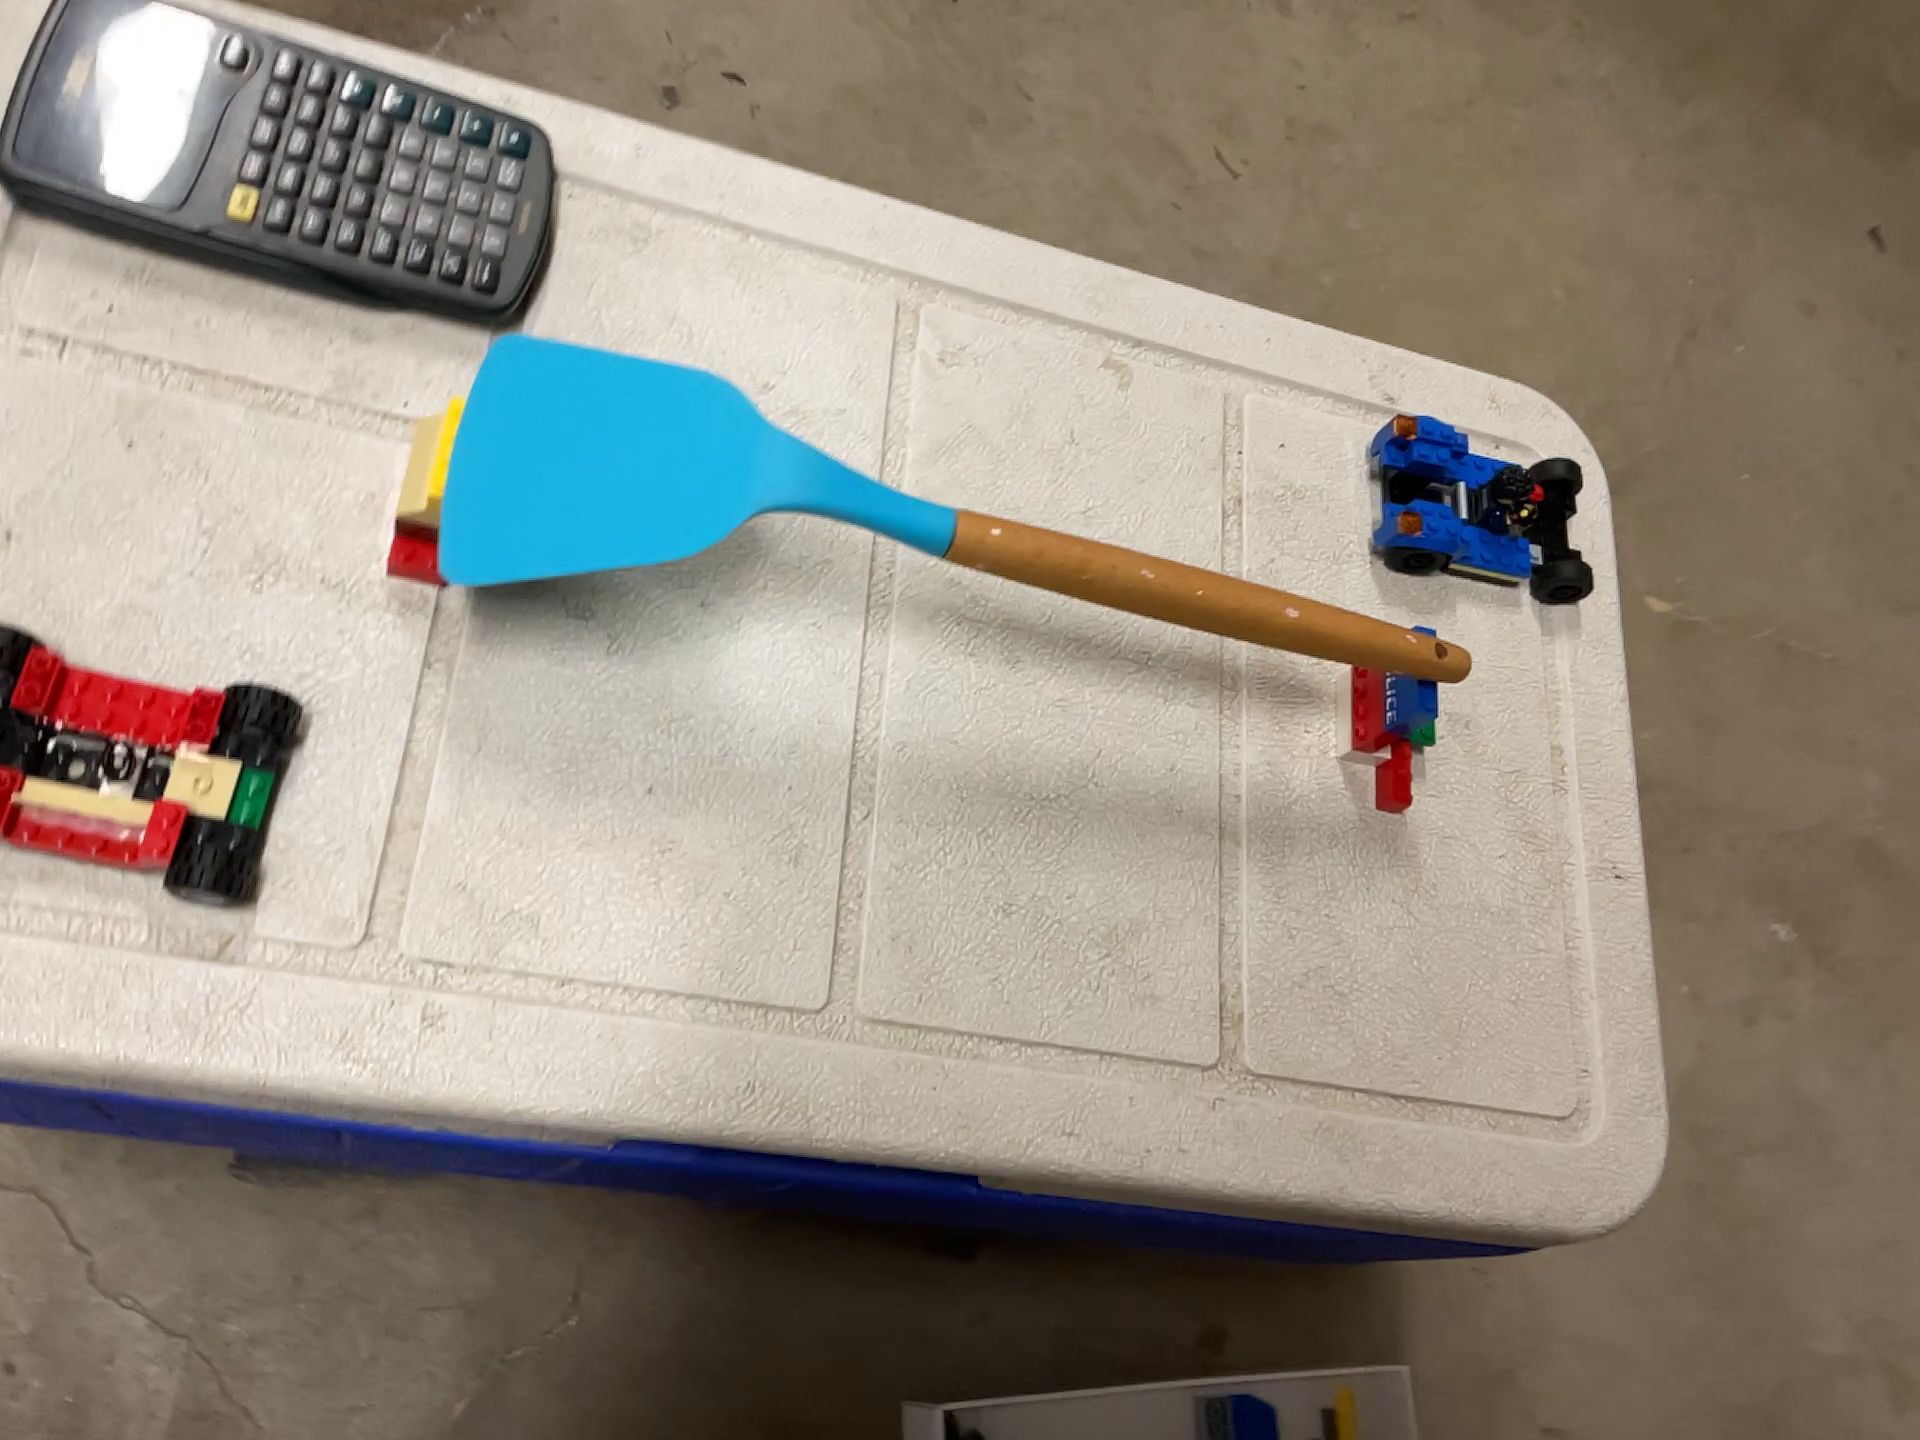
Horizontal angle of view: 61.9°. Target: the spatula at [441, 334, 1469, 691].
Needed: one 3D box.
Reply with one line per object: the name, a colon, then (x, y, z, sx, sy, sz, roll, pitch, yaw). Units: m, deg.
spatula: (0.015, -0.046, 0.478, 0.317, 0.044, 0.082, 13, 66, -20)
